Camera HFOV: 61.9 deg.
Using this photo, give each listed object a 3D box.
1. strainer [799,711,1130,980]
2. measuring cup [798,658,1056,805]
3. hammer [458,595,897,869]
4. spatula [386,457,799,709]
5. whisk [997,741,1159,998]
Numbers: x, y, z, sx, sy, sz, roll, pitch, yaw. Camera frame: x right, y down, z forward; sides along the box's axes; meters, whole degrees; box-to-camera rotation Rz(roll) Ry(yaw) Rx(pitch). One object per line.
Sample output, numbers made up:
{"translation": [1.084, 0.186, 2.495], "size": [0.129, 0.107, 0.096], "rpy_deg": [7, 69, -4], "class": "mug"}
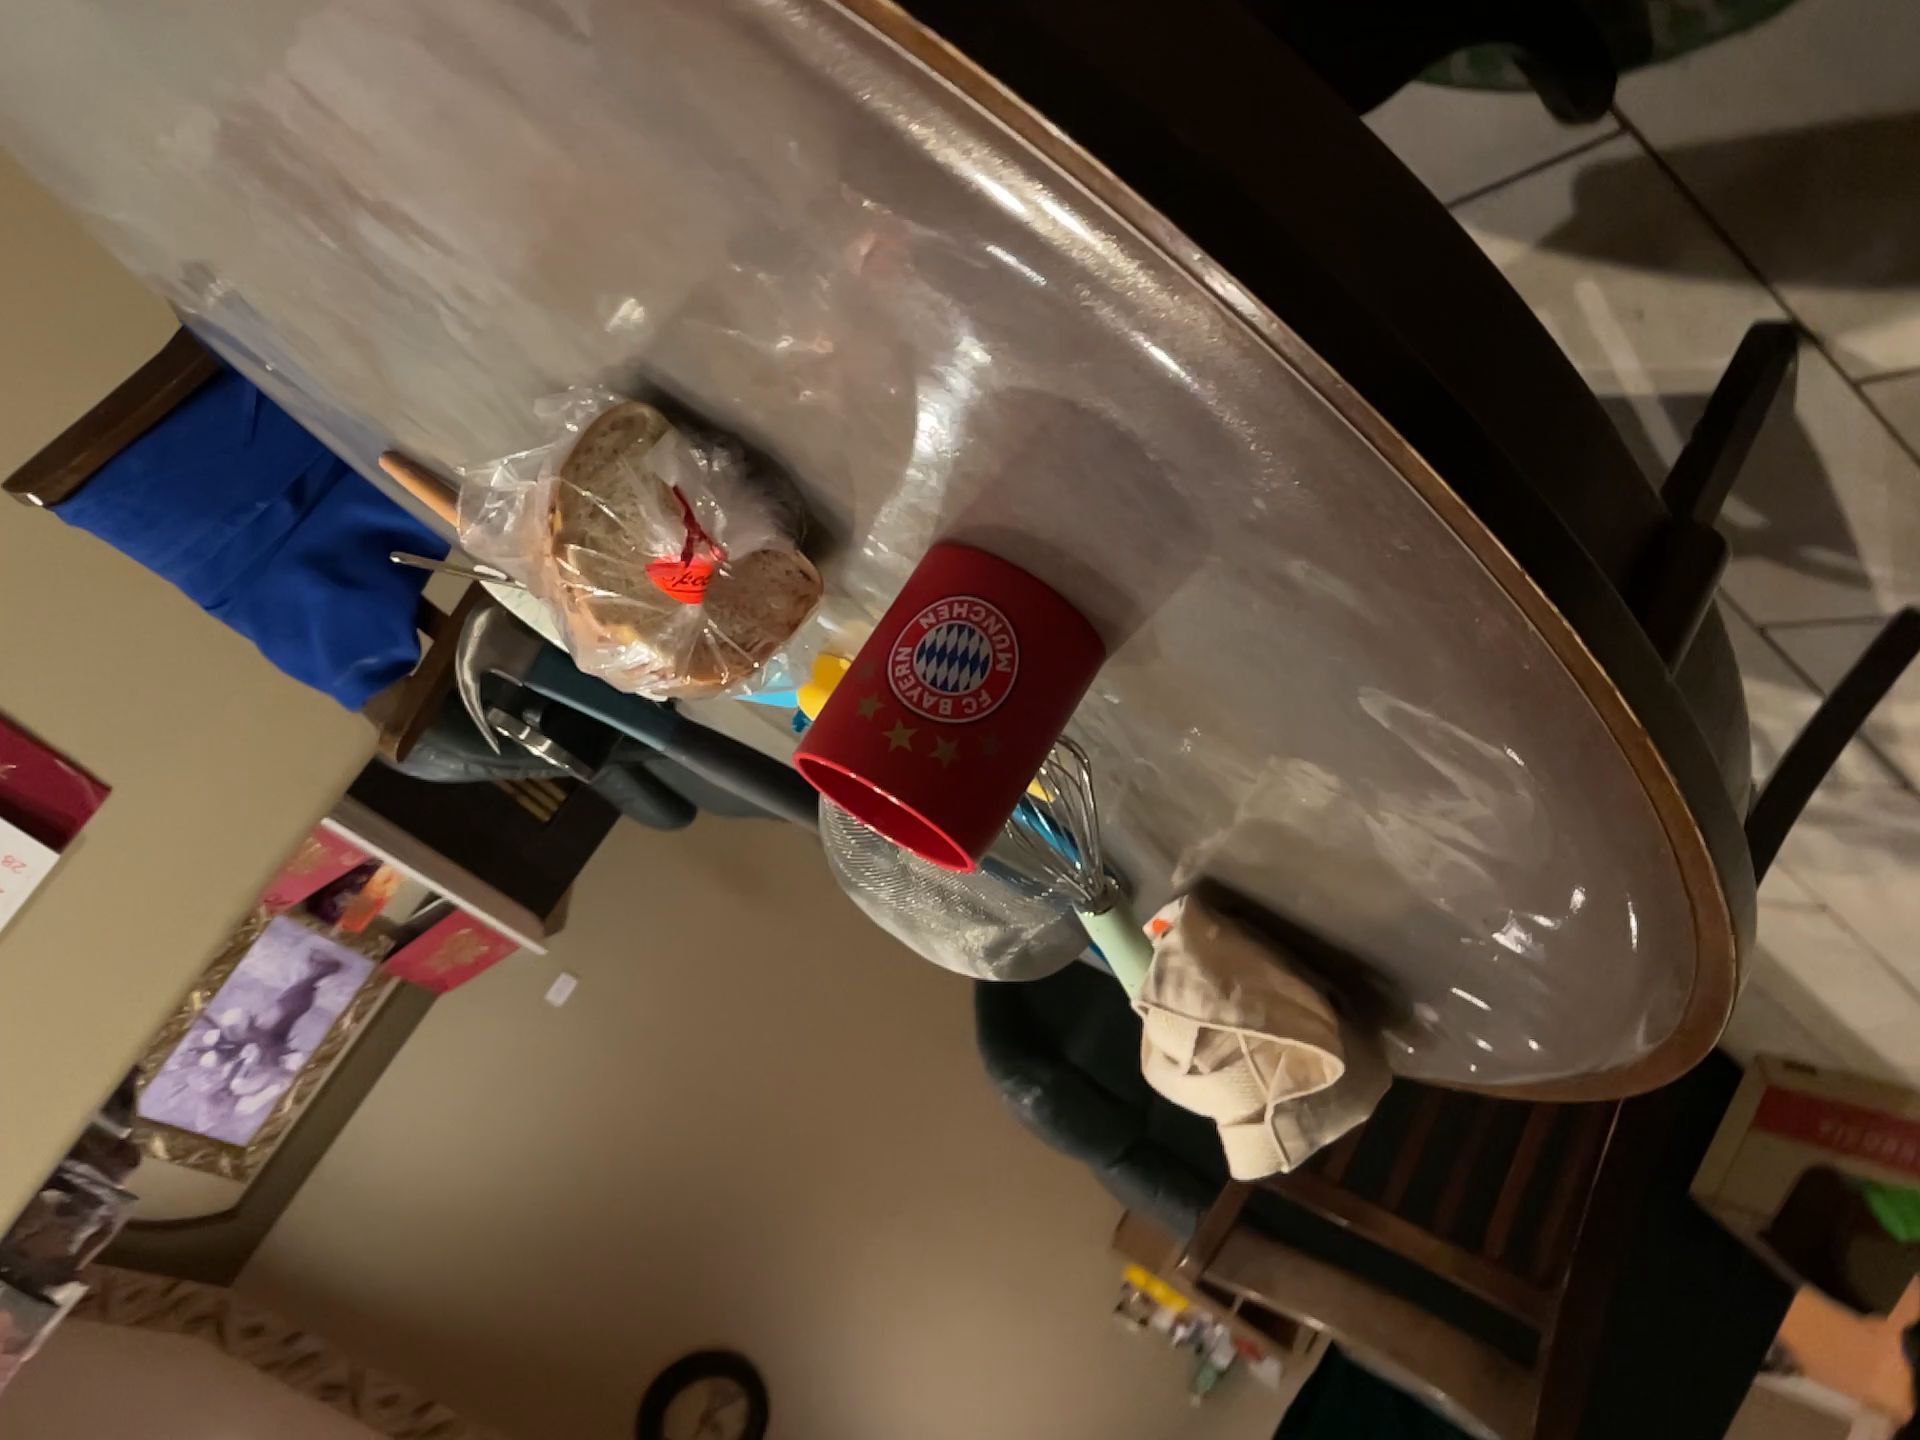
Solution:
{"translation": [0.026, 0.129, 0.993], "size": [0.211, 0.095, 0.340], "rpy_deg": [17, 155, 52], "class": "strainer"}
{"translation": [-0.021, 0.016, 0.837], "size": [0.156, 0.029, 0.062], "rpy_deg": [29, 166, 24], "class": "measuring cup"}
{"translation": [-0.184, 0.013, 1.092], "size": [0.331, 0.128, 0.033], "rpy_deg": [27, 171, -12], "class": "hammer"}
{"translation": [-0.235, -0.087, 0.997], "size": [0.317, 0.044, 0.082], "rpy_deg": [34, 168, 15], "class": "spatula"}
{"translation": [0.064, 0.085, 0.784], "size": [0.059, 0.058, 0.246], "rpy_deg": [-9, 136, 25], "class": "whisk"}
